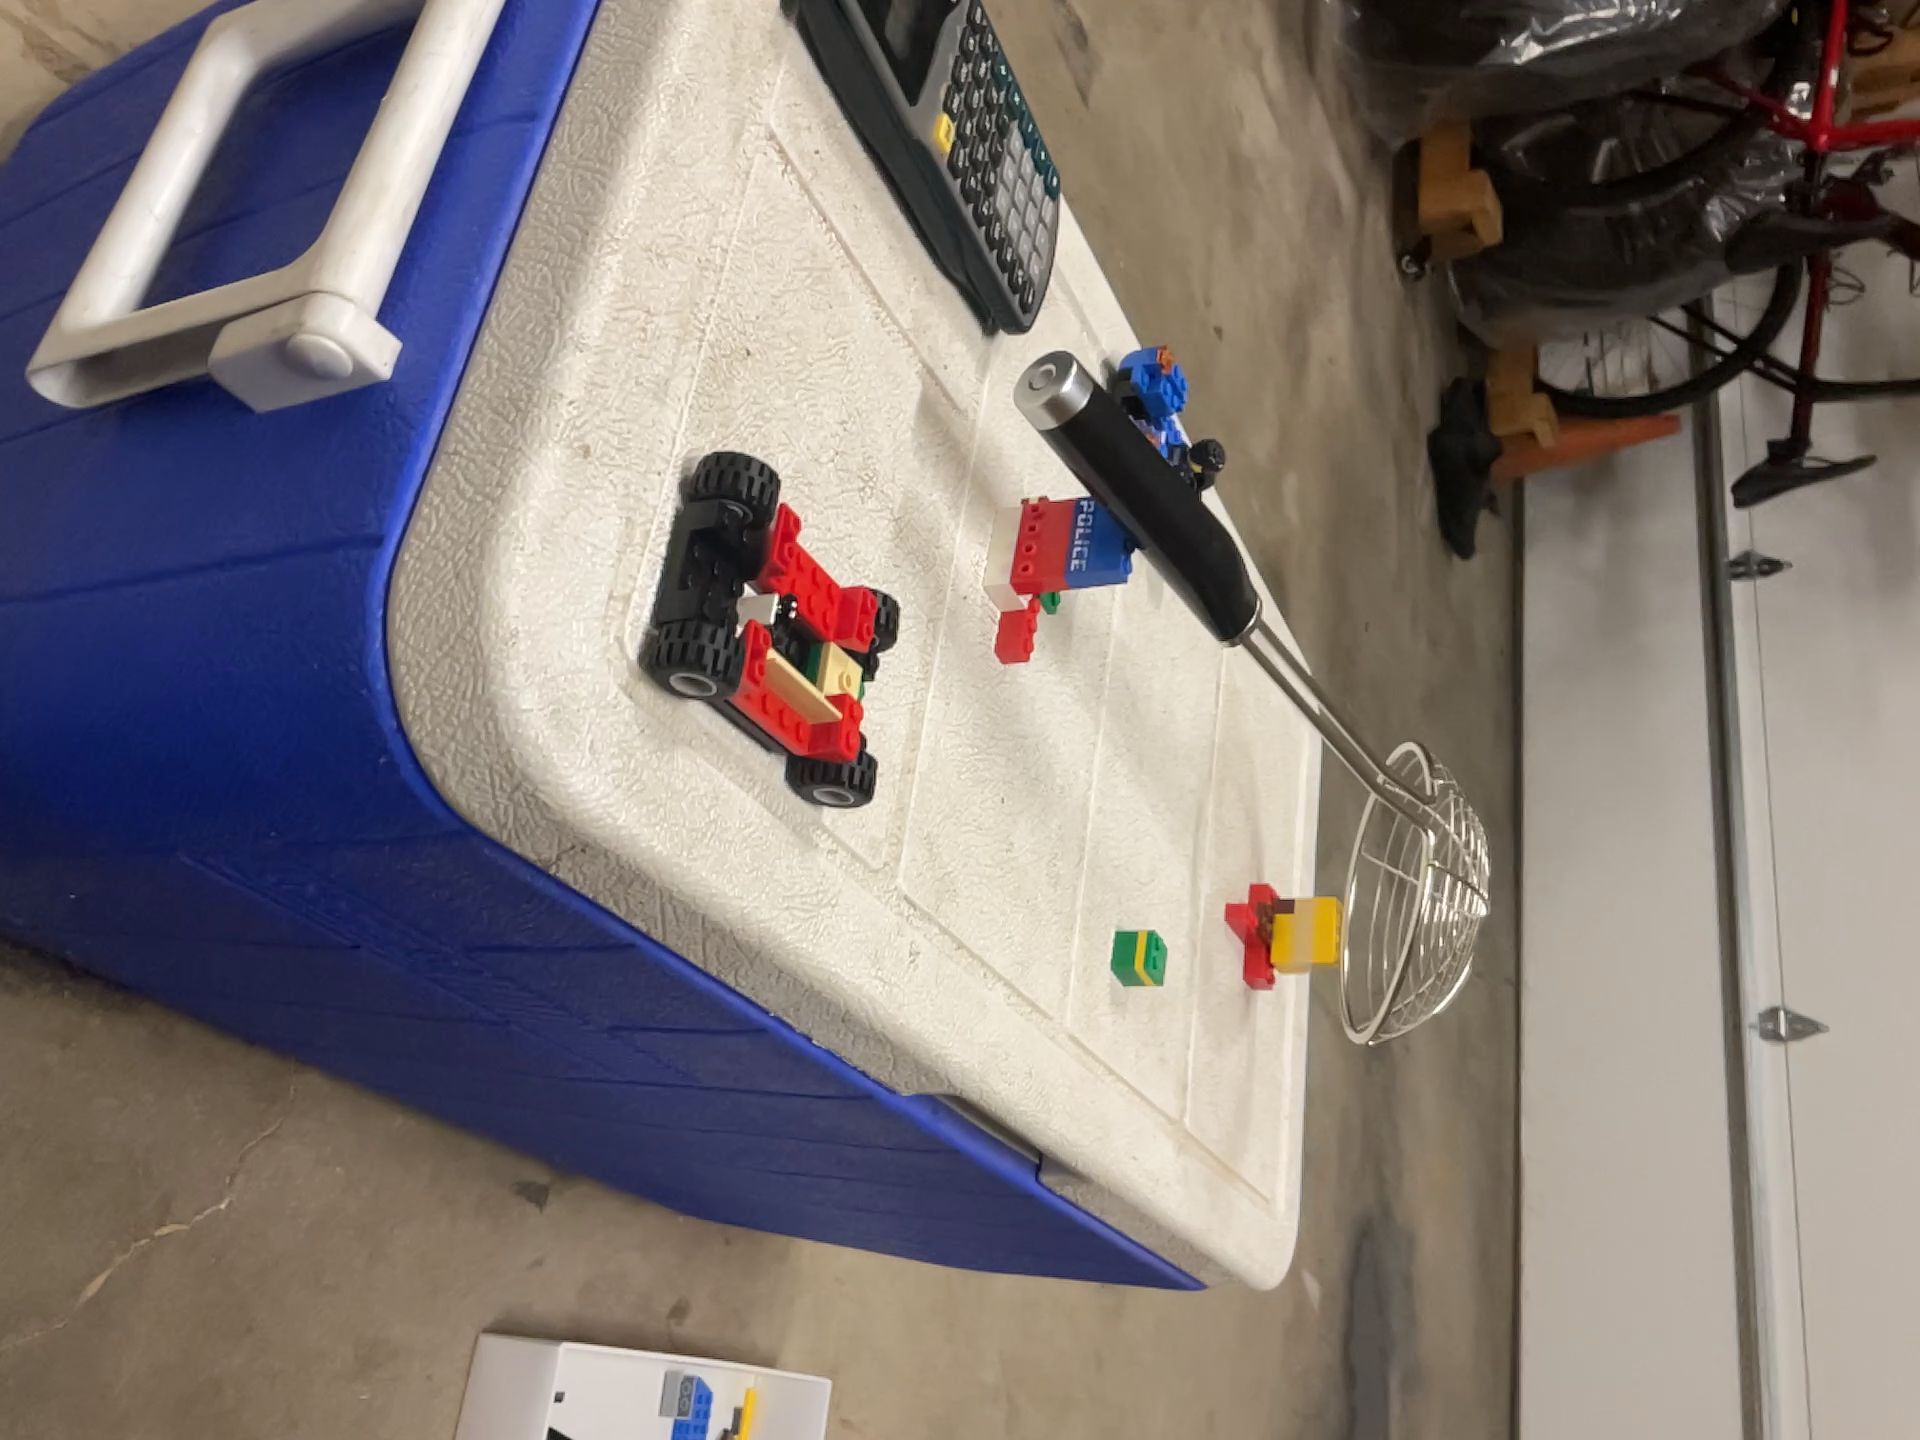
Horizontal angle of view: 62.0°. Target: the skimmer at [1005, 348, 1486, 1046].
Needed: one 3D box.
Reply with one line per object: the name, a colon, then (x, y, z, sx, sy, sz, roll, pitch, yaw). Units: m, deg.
skimmer: (0.102, 0.003, 0.585, 0.363, 0.090, 0.128, 42, 48, -39)
